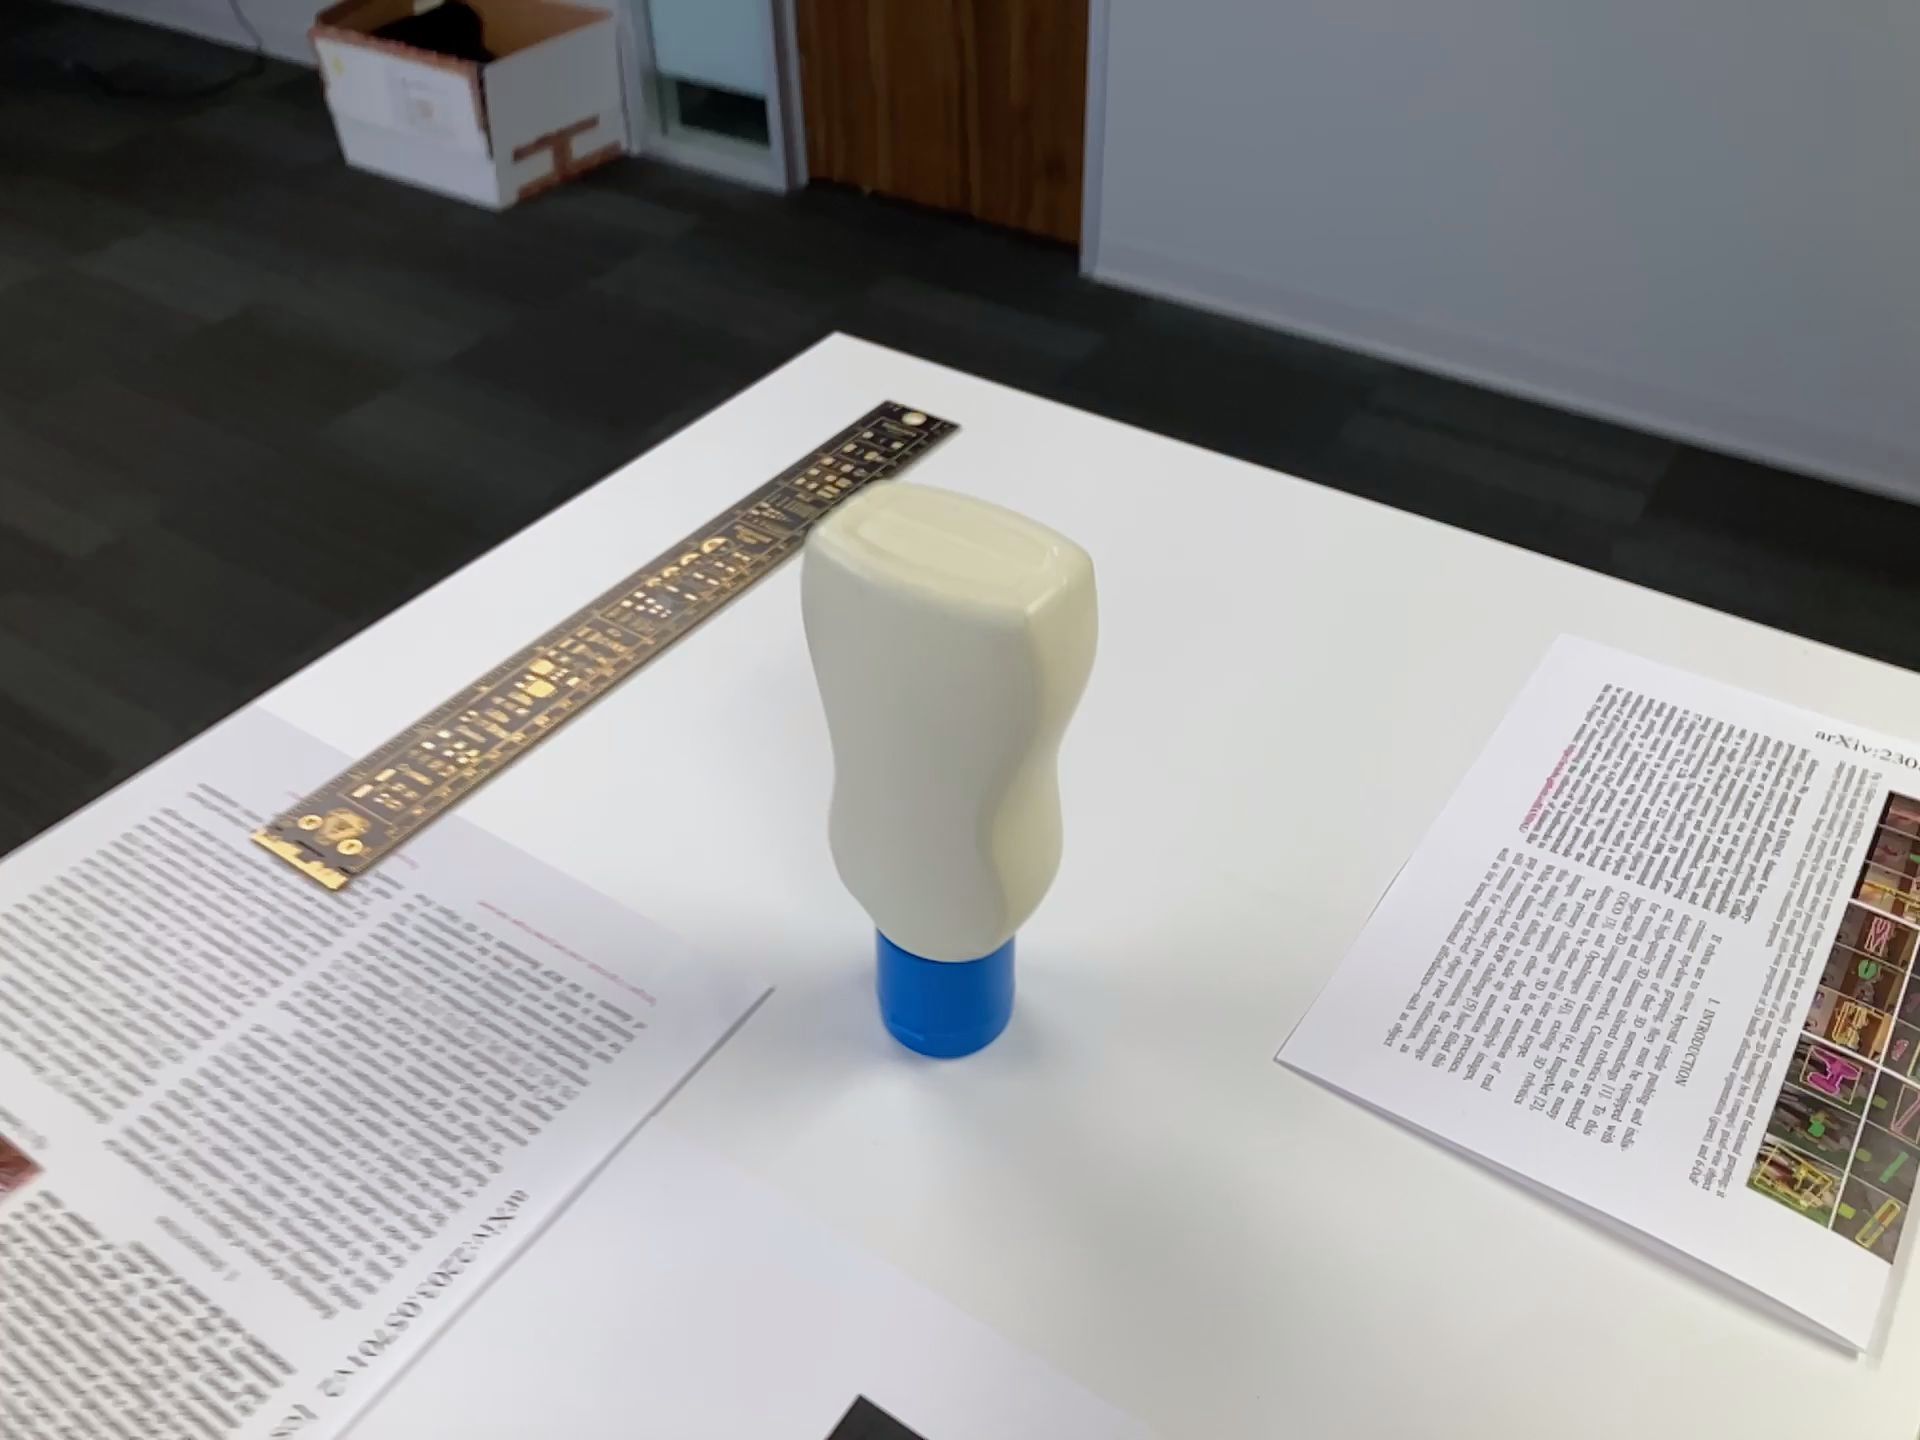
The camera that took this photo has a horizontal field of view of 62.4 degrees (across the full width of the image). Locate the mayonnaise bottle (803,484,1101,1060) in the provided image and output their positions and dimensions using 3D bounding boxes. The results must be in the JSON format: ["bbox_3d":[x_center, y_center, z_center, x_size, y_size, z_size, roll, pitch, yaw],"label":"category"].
[{"bbox_3d":[-0.003,0.020,0.376,0.065,0.148,0.041,23,45,25],"label":"mayonnaise bottle"}]
